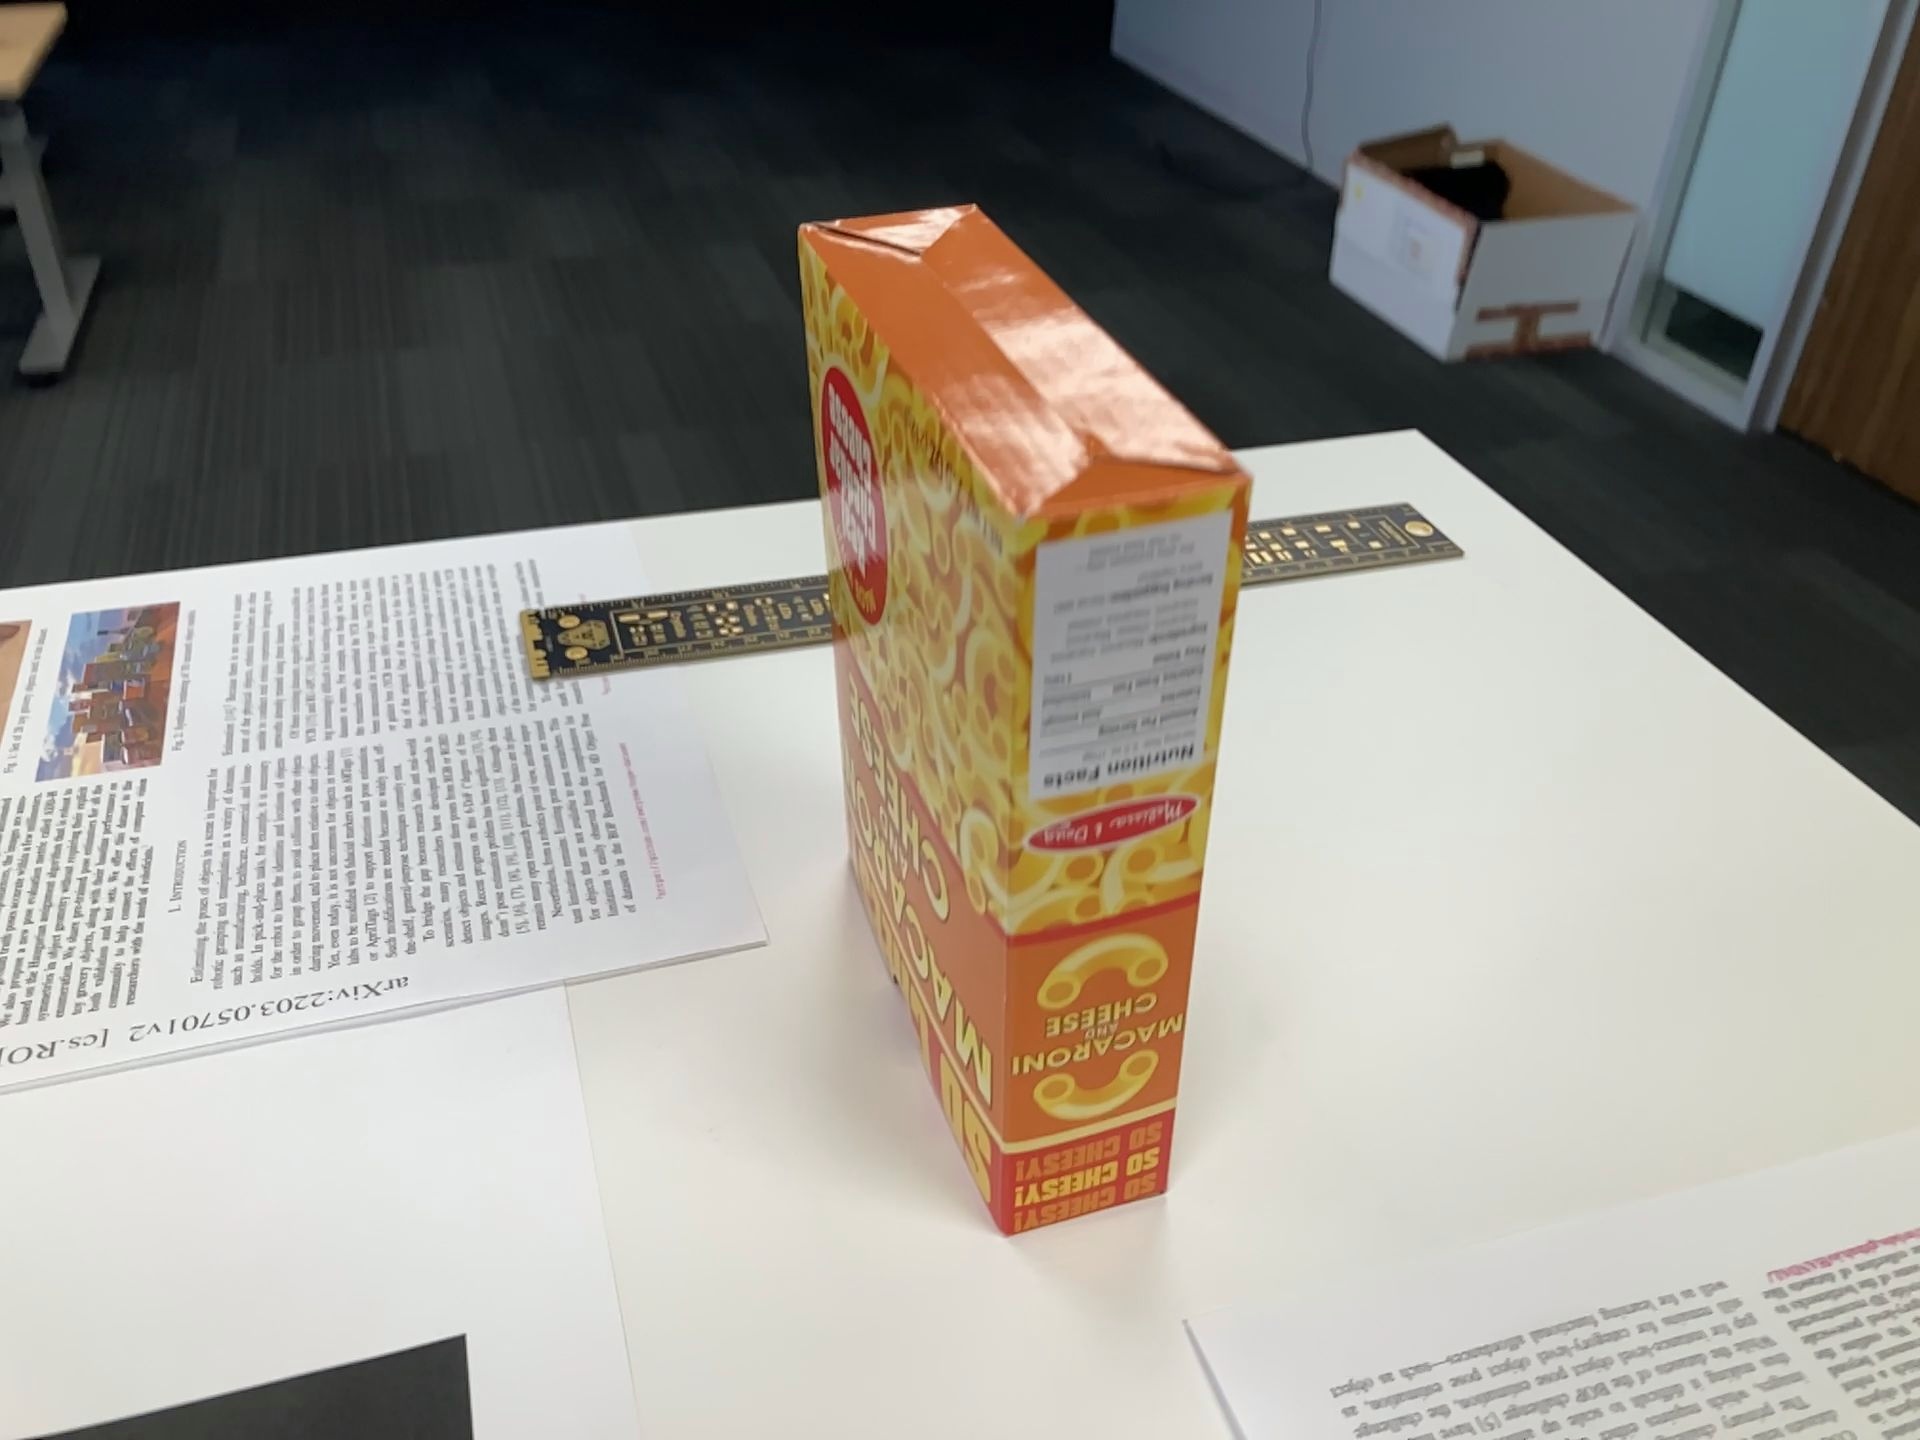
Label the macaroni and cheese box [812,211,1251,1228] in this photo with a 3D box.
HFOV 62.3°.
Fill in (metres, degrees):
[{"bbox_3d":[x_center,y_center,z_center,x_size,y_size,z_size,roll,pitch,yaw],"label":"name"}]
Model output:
[{"bbox_3d":[0.006,0.000,0.323,0.040,0.166,0.124,-11,38,-14],"label":"macaroni and cheese box"}]
